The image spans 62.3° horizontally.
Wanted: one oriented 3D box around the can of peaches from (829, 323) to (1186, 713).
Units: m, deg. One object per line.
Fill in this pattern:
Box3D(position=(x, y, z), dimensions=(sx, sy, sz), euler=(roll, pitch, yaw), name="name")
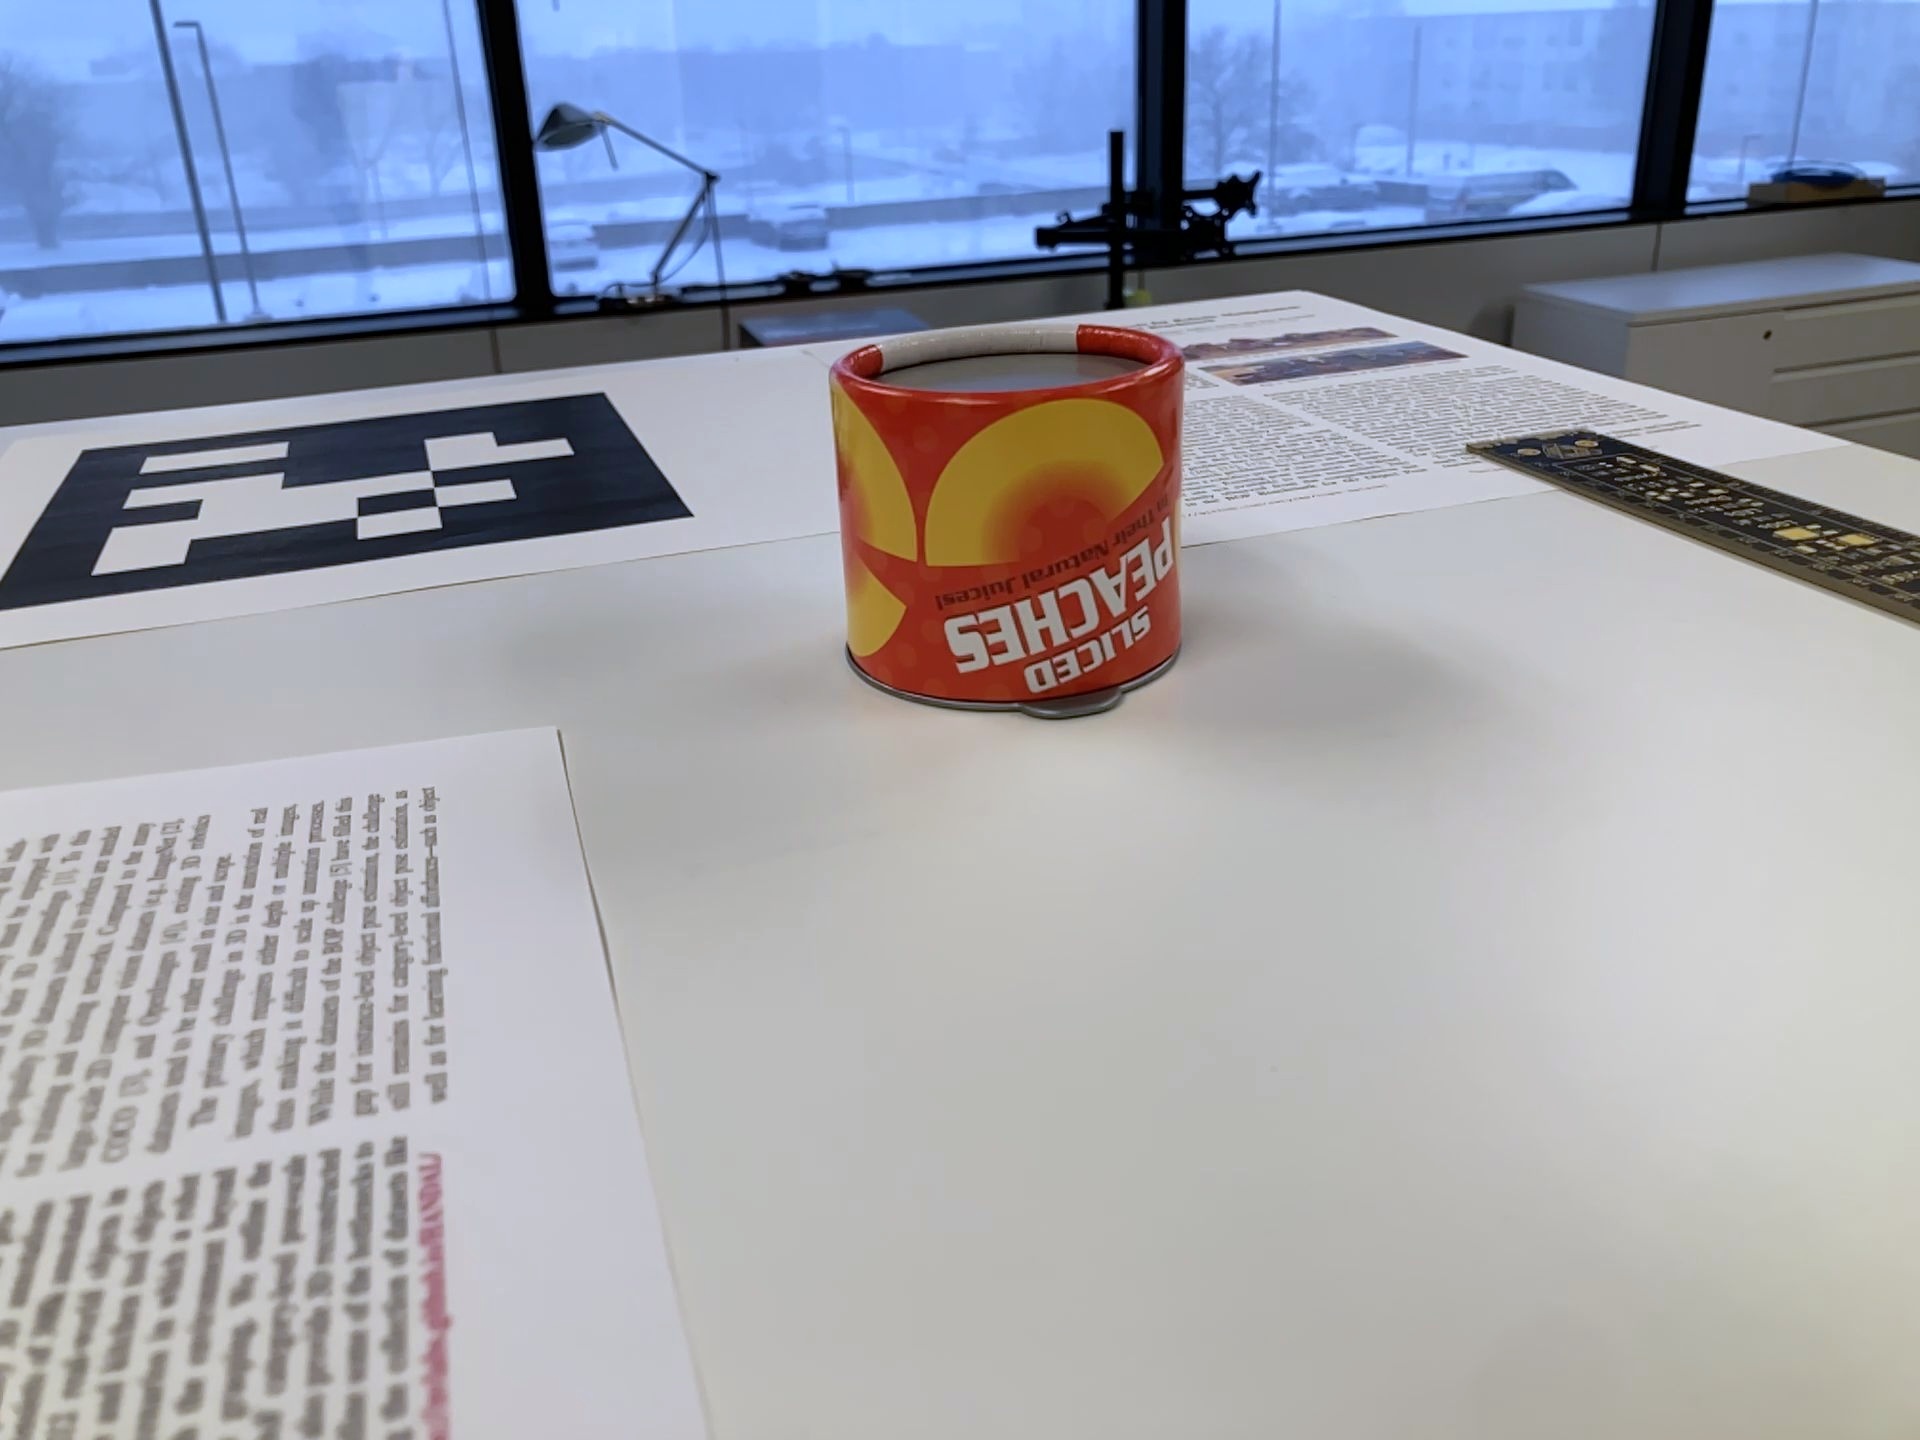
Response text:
Box3D(position=(0.010, -0.041, 0.298), dimensions=(0.071, 0.058, 0.071), euler=(-2, 22, 1), name="can of peaches")
